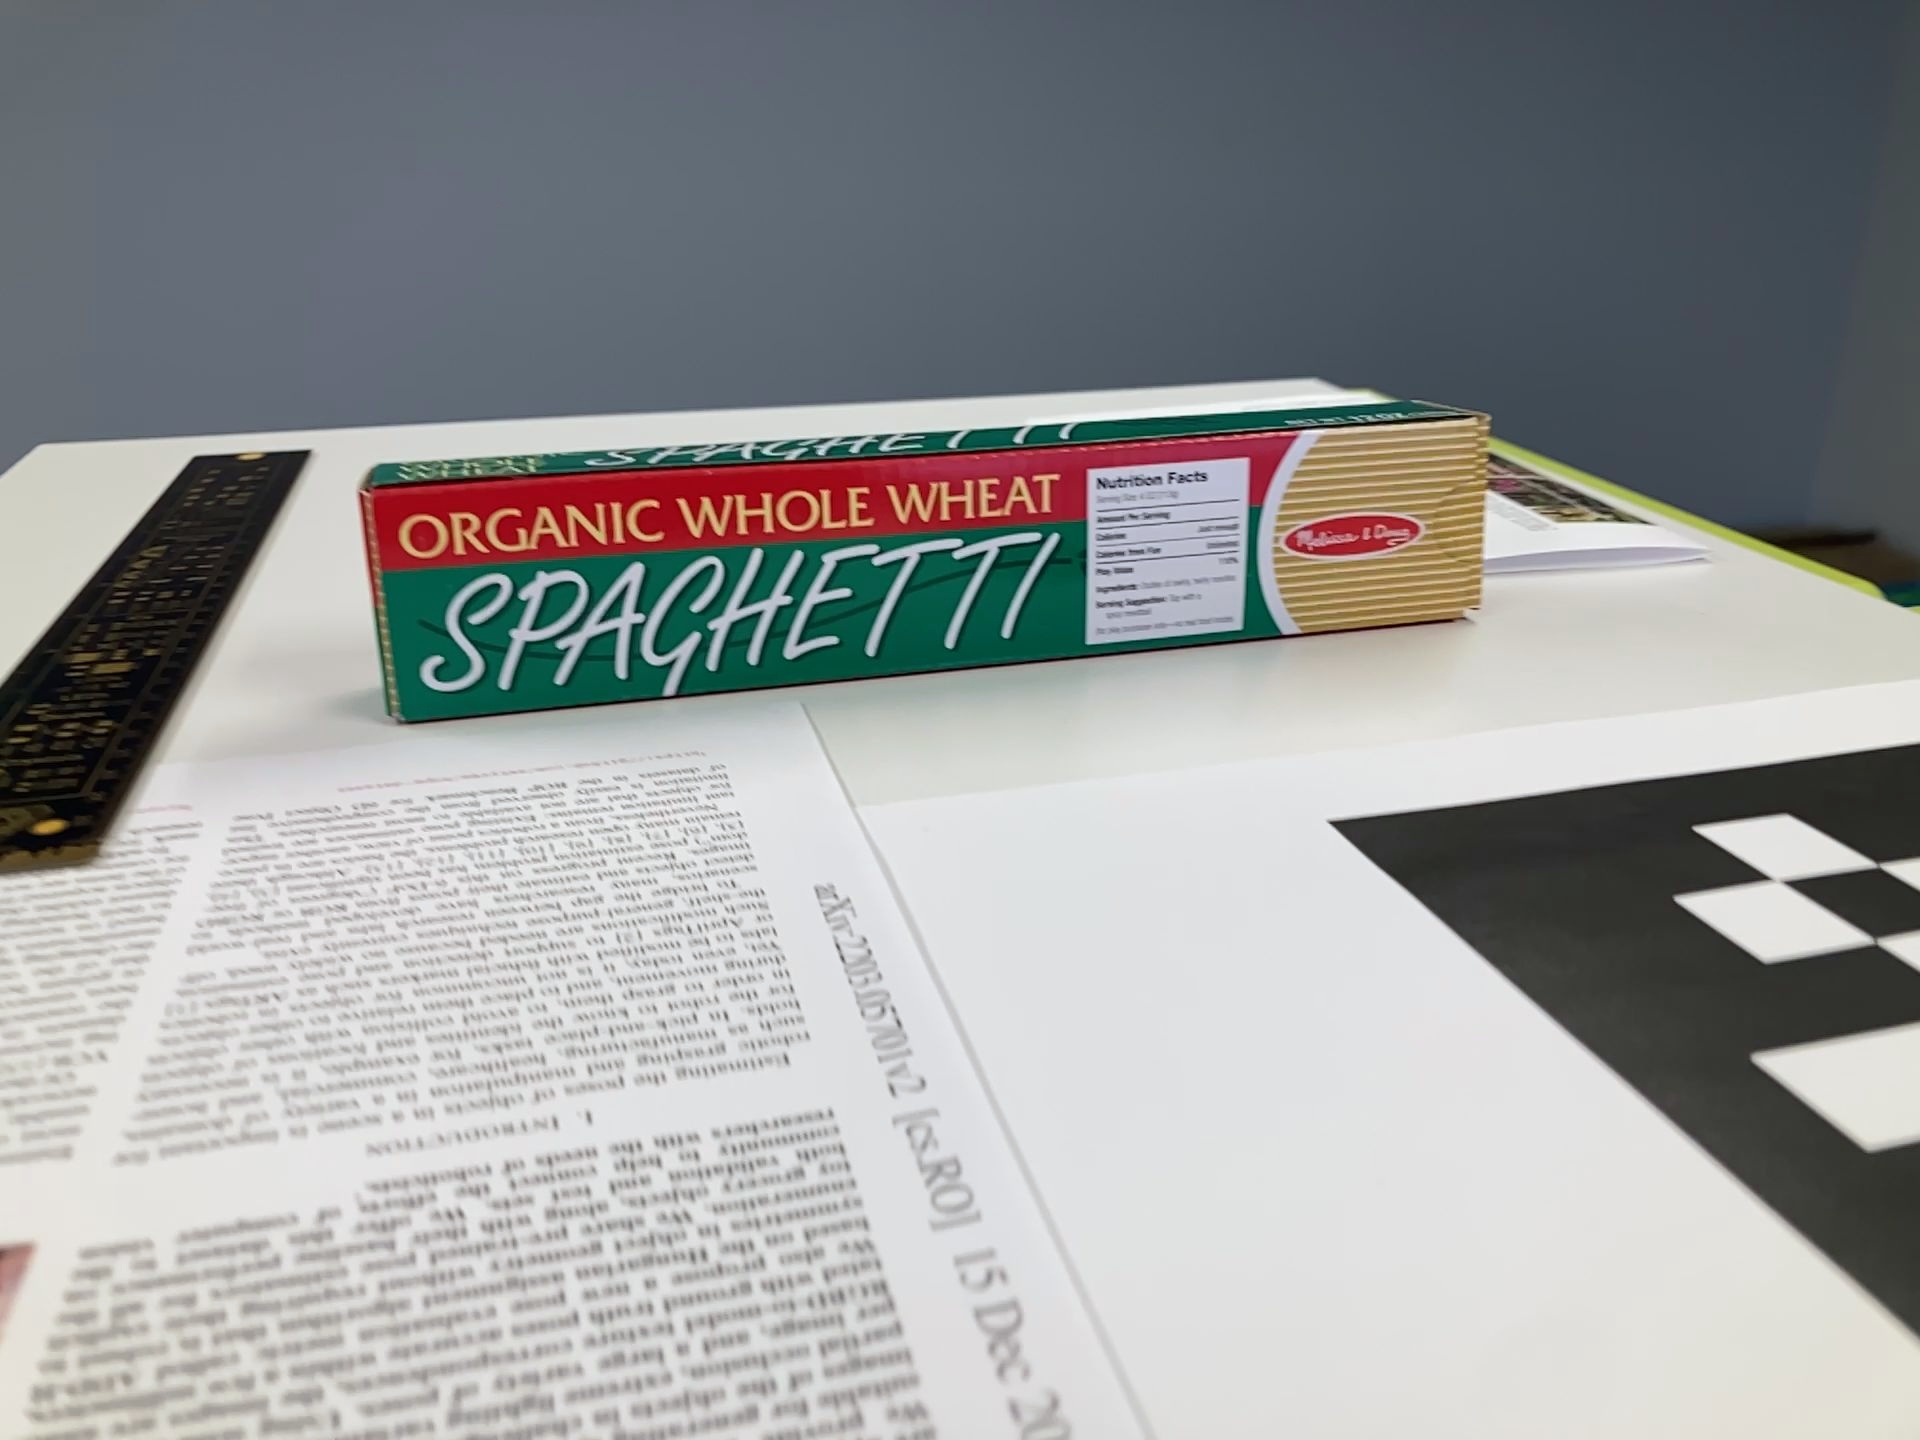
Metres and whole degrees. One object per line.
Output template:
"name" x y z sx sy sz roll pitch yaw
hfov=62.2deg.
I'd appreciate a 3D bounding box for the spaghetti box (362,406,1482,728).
"spaghetti box" -0.001 -0.038 0.358 0.250 0.050 0.028 -6 19 -14
